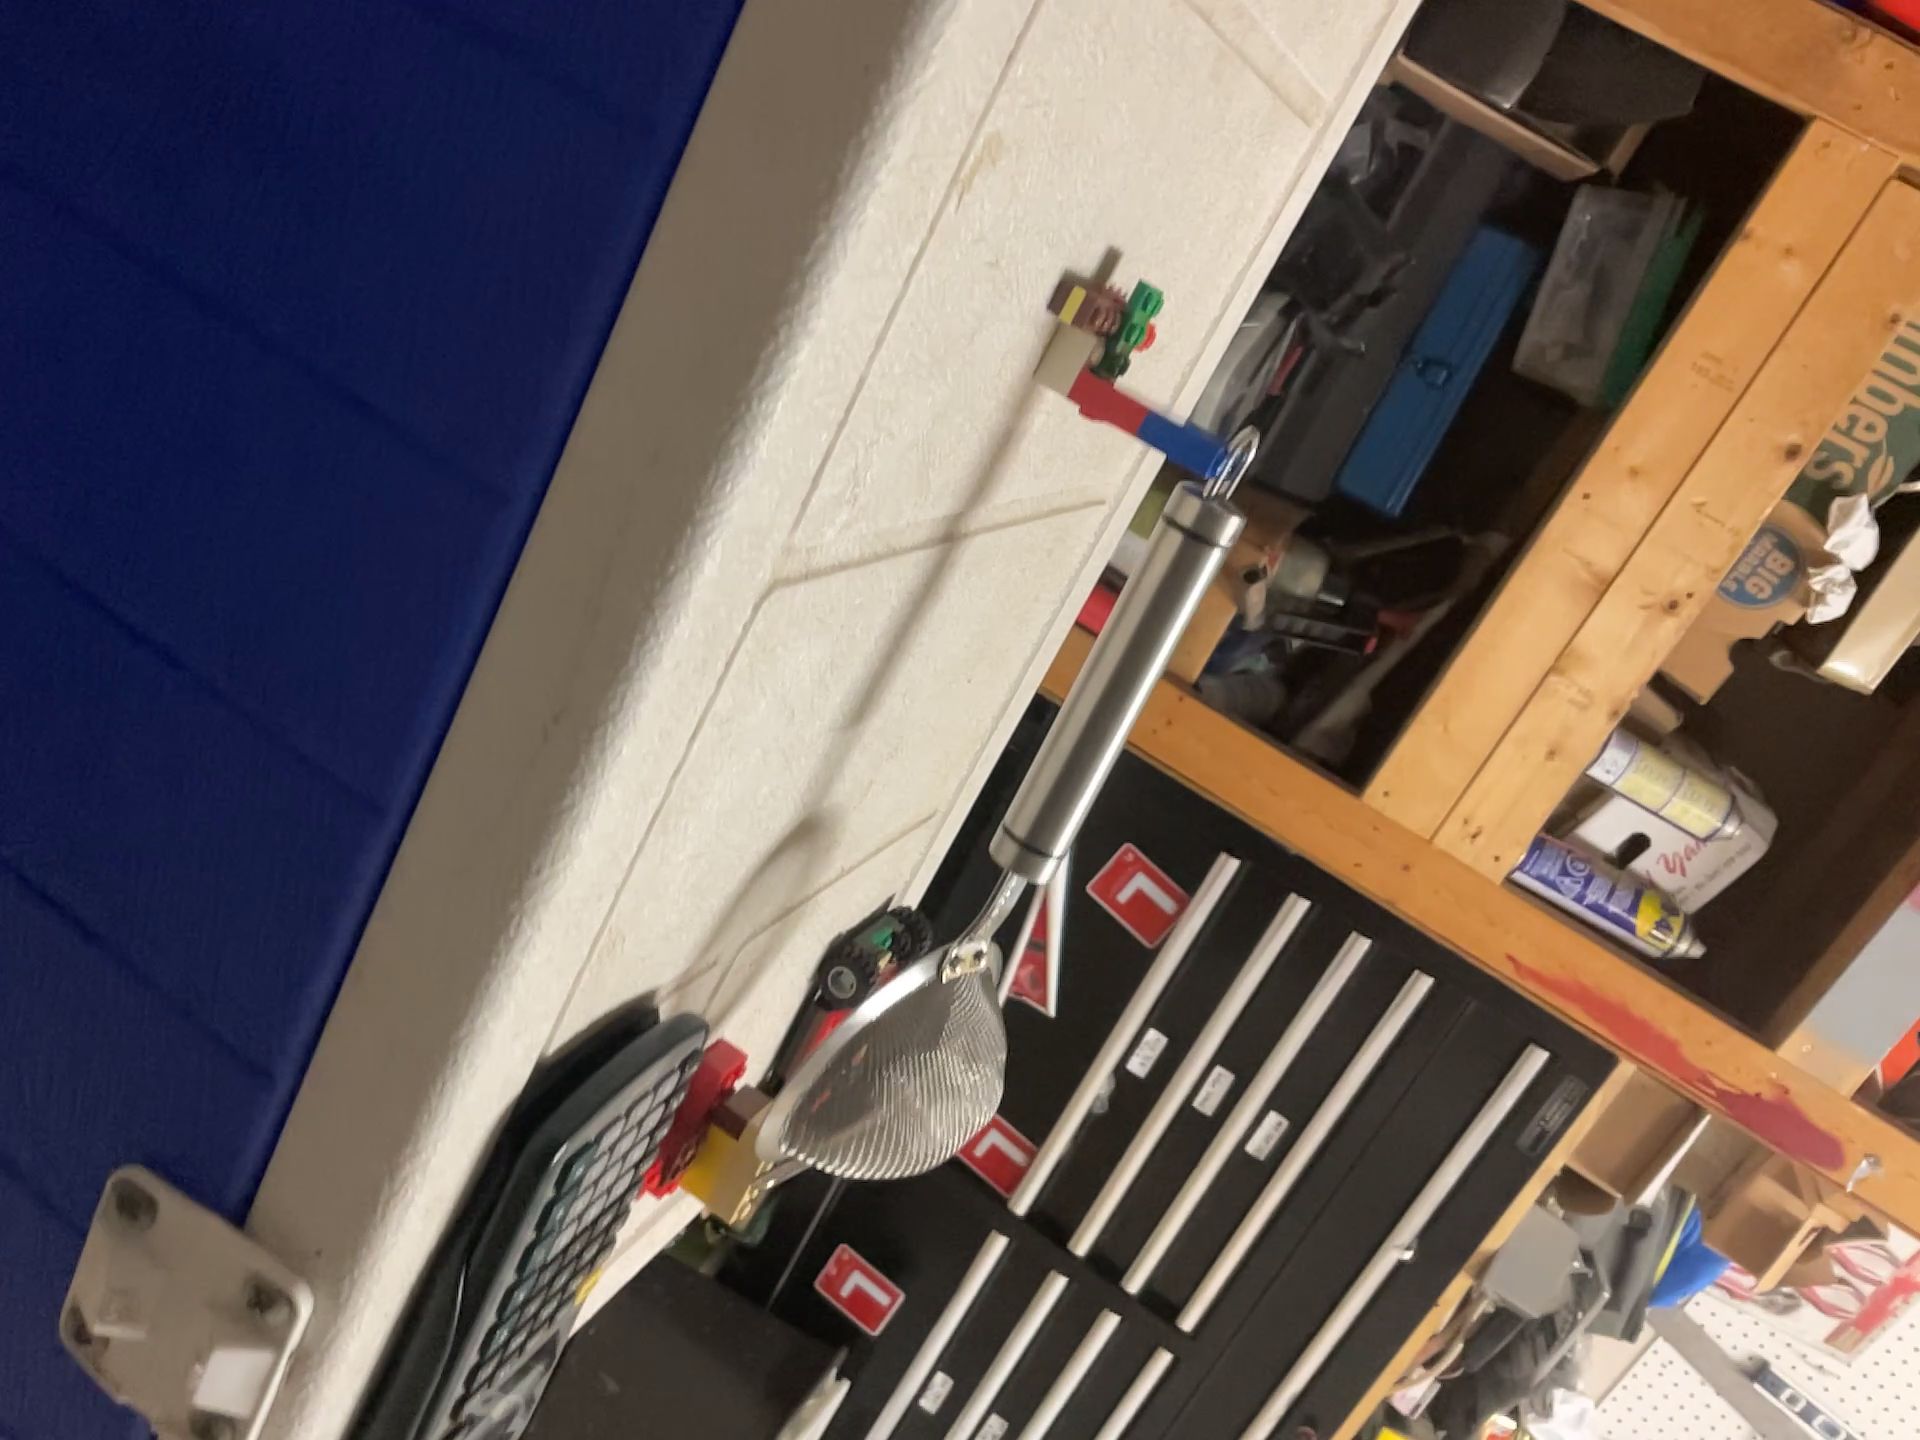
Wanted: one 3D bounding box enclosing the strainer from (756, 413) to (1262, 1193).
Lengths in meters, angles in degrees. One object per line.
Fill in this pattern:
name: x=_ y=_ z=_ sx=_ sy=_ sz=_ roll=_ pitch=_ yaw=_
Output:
strainer: x=0.015 y=0.039 z=0.413 sx=0.087 sy=0.050 sz=0.258 roll=-3 pitch=124 yaw=-56
